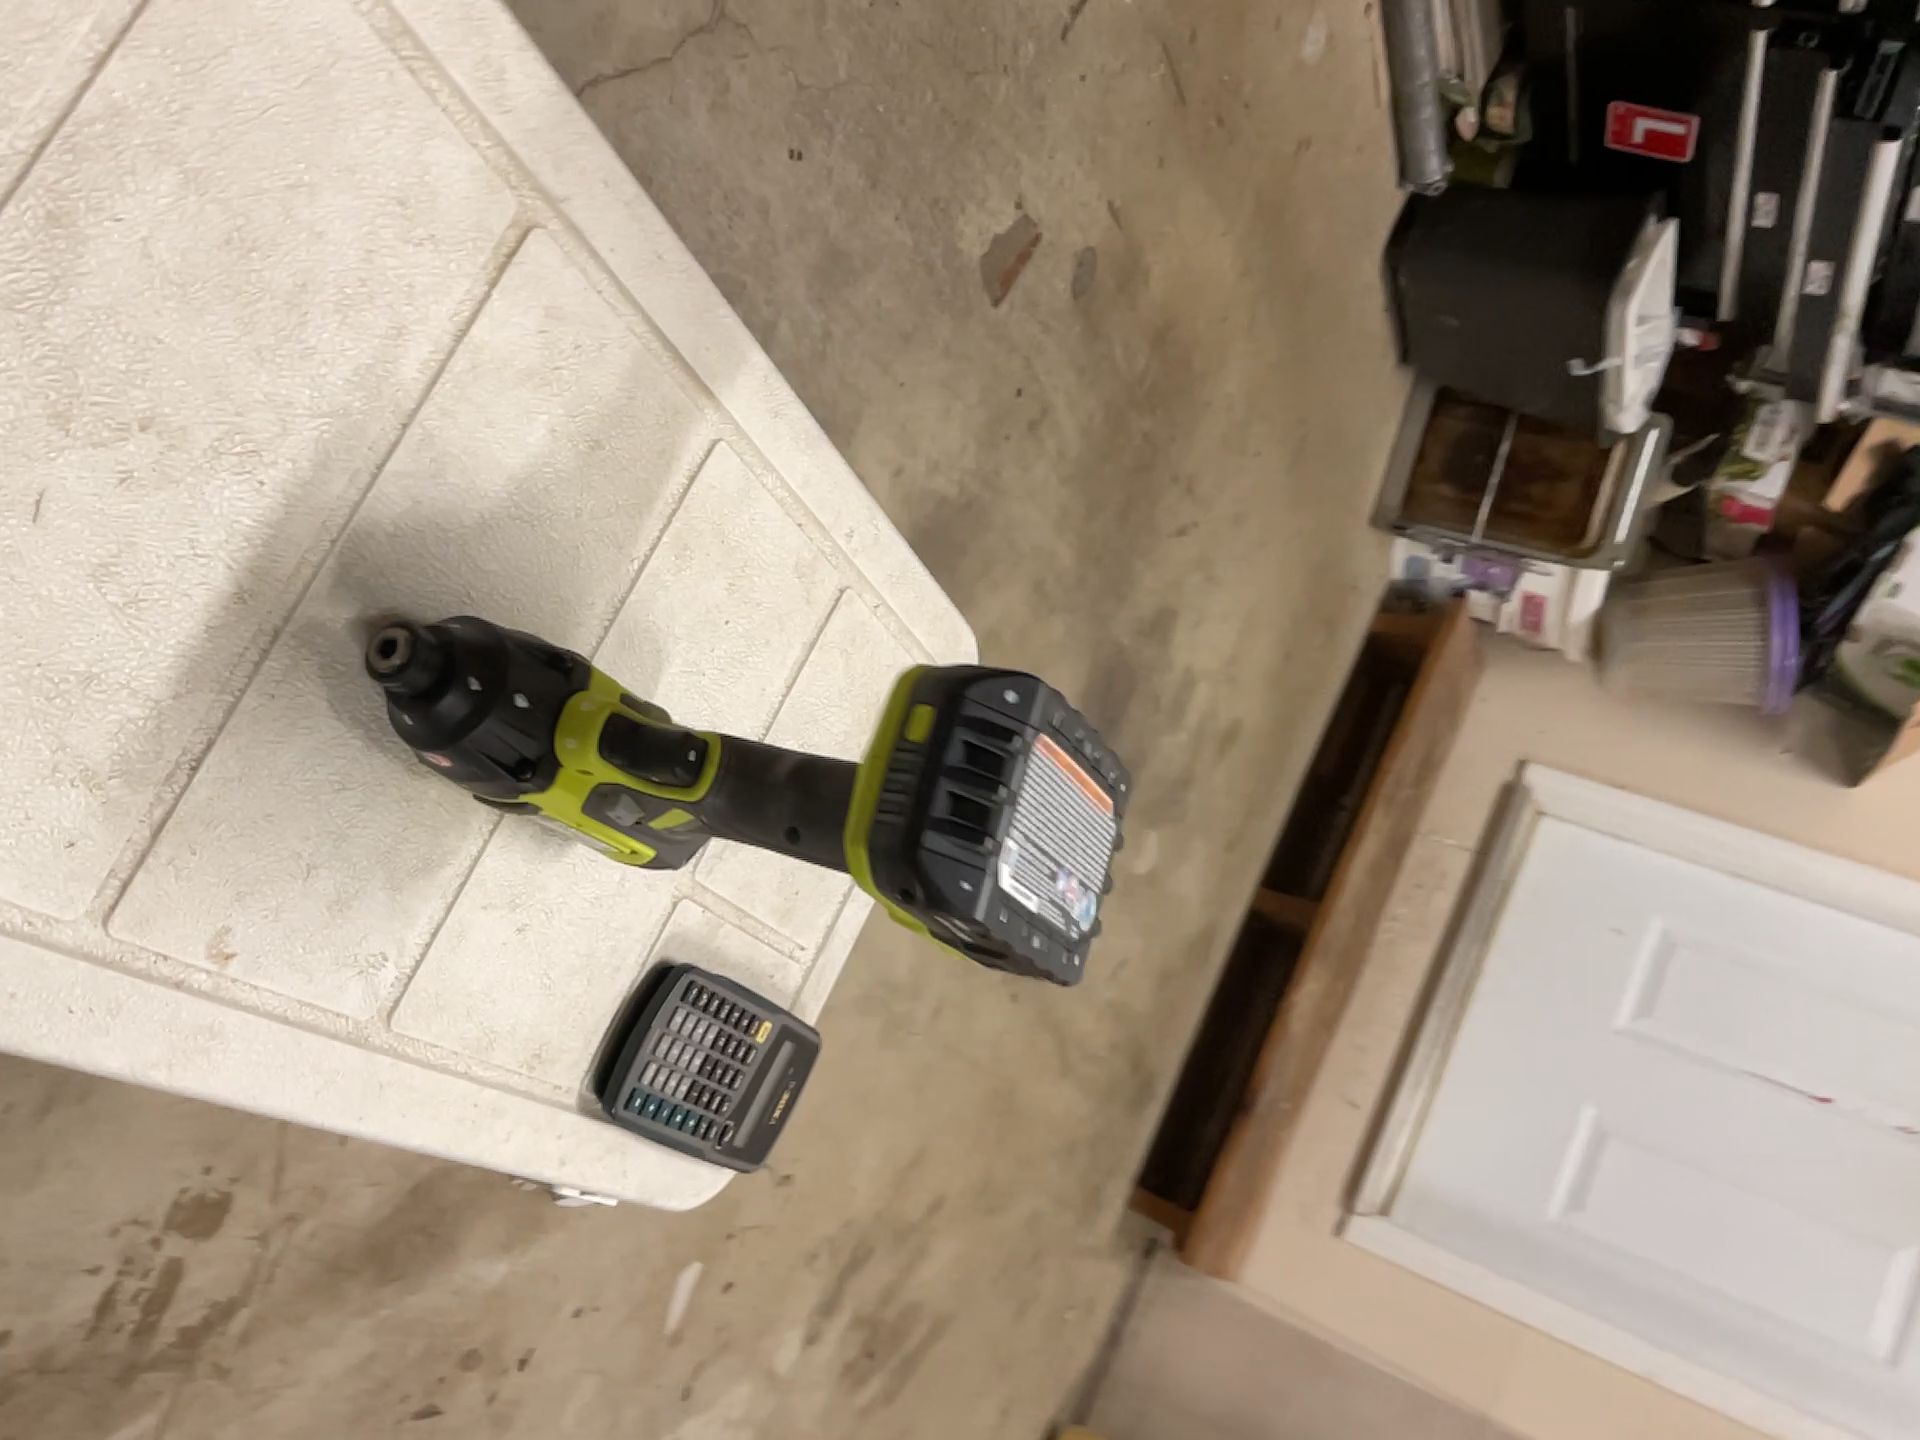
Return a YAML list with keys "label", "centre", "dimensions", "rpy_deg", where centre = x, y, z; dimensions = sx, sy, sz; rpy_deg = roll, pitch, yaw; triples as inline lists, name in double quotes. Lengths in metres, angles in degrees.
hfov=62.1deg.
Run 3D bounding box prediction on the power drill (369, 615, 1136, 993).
- label: "power drill"
  centre: [-0.069, 0.020, 0.525]
  dimensions: [0.171, 0.223, 0.080]
  rpy_deg: [45, 58, -61]
